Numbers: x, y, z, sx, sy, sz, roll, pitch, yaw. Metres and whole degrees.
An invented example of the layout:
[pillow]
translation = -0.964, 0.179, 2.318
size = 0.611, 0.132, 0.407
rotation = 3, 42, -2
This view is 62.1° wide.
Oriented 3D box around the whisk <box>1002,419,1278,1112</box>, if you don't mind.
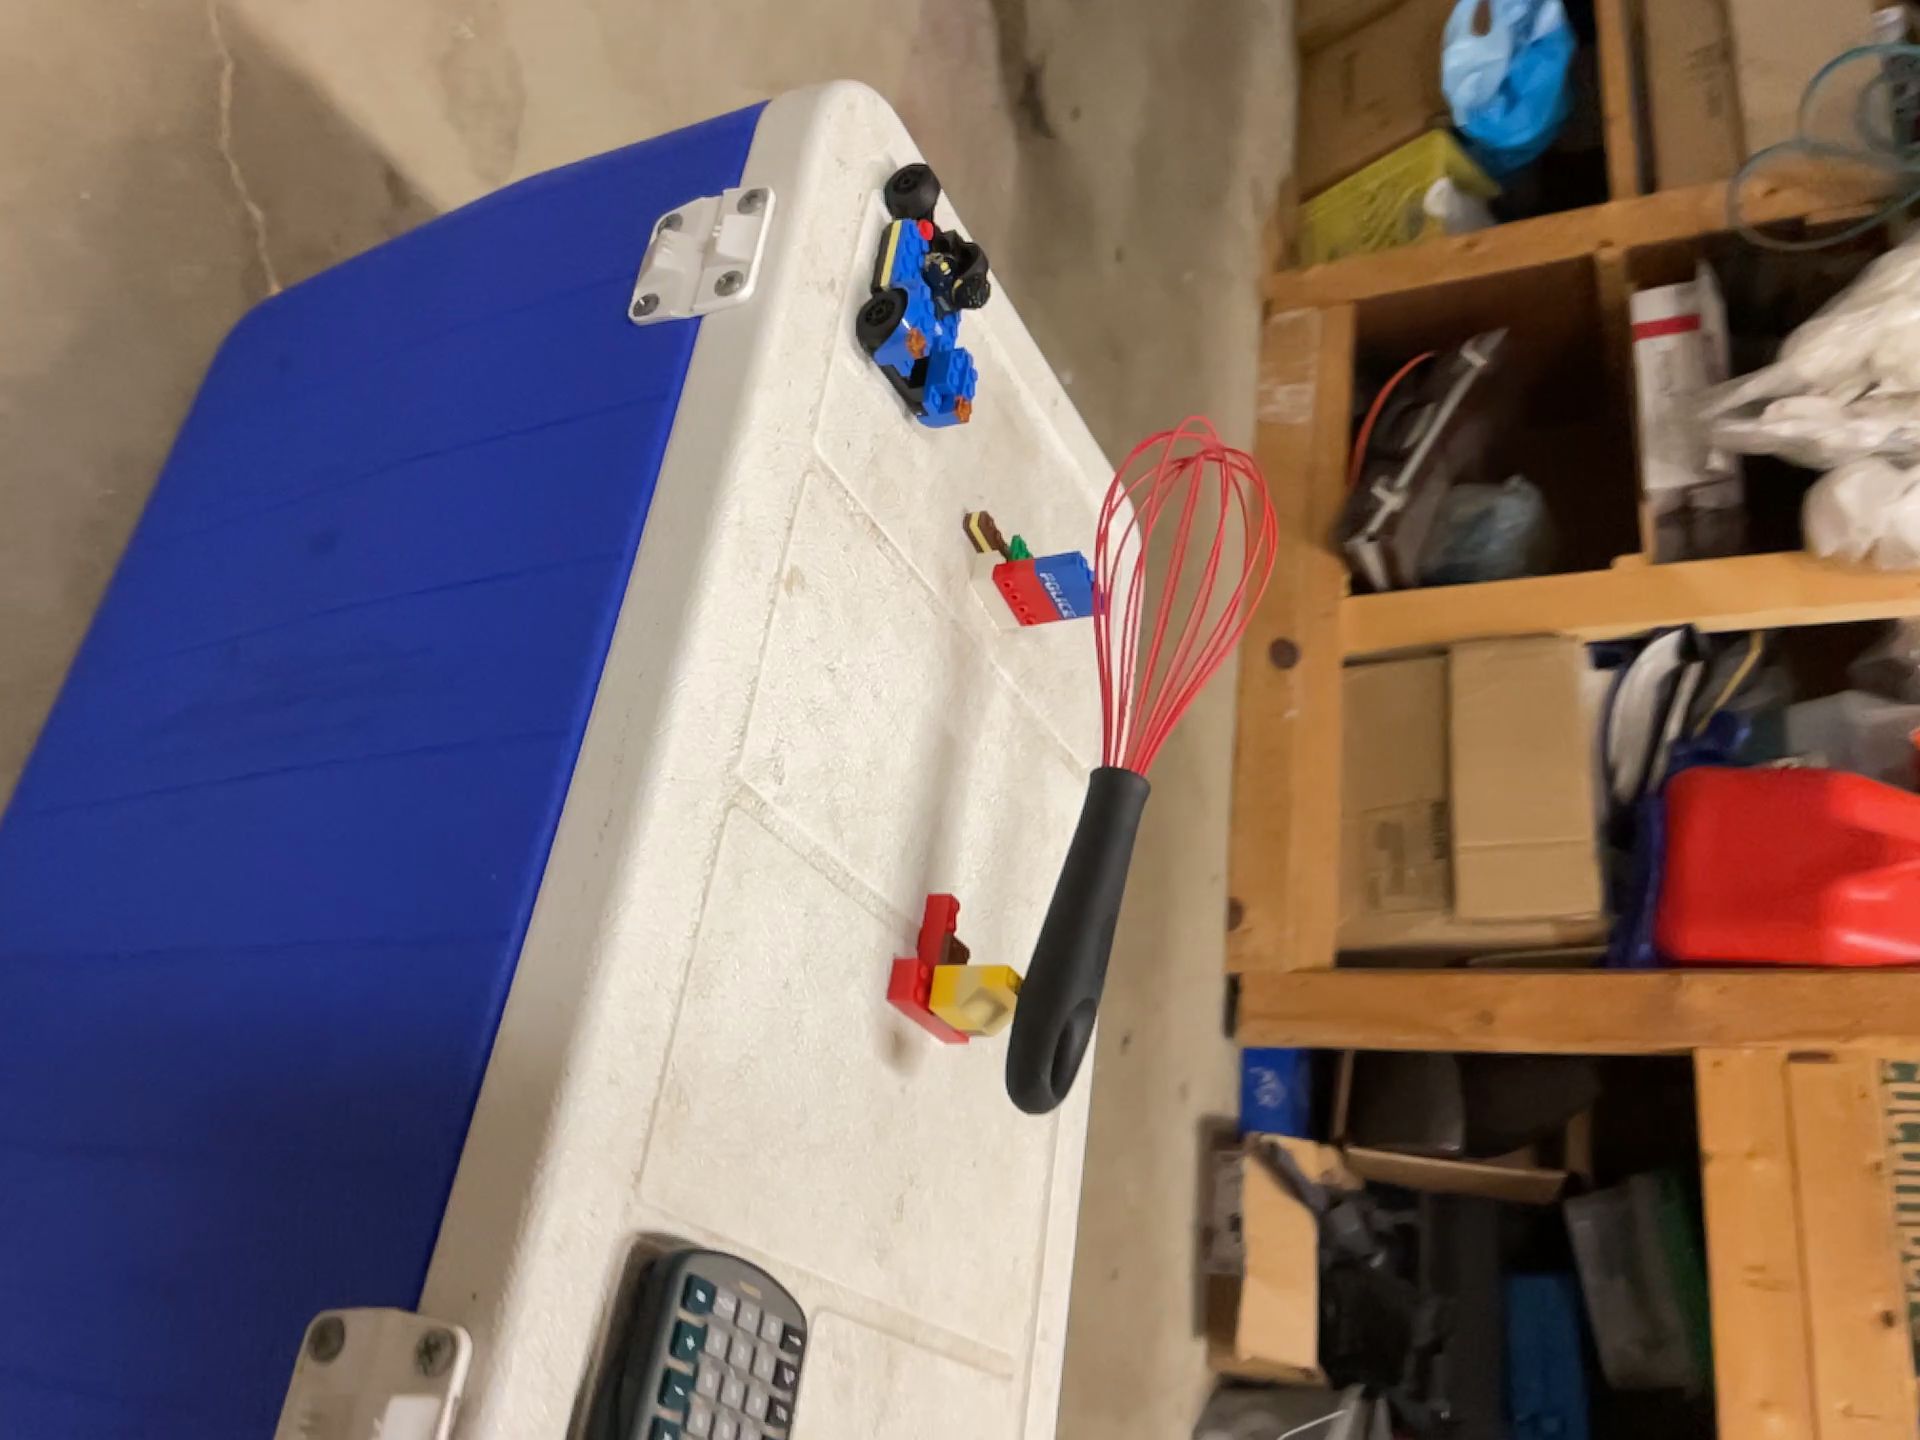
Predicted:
[whisk]
translation = 0.066, 0.007, 0.611
size = 0.073, 0.073, 0.296
rotation = 53, 49, -51
